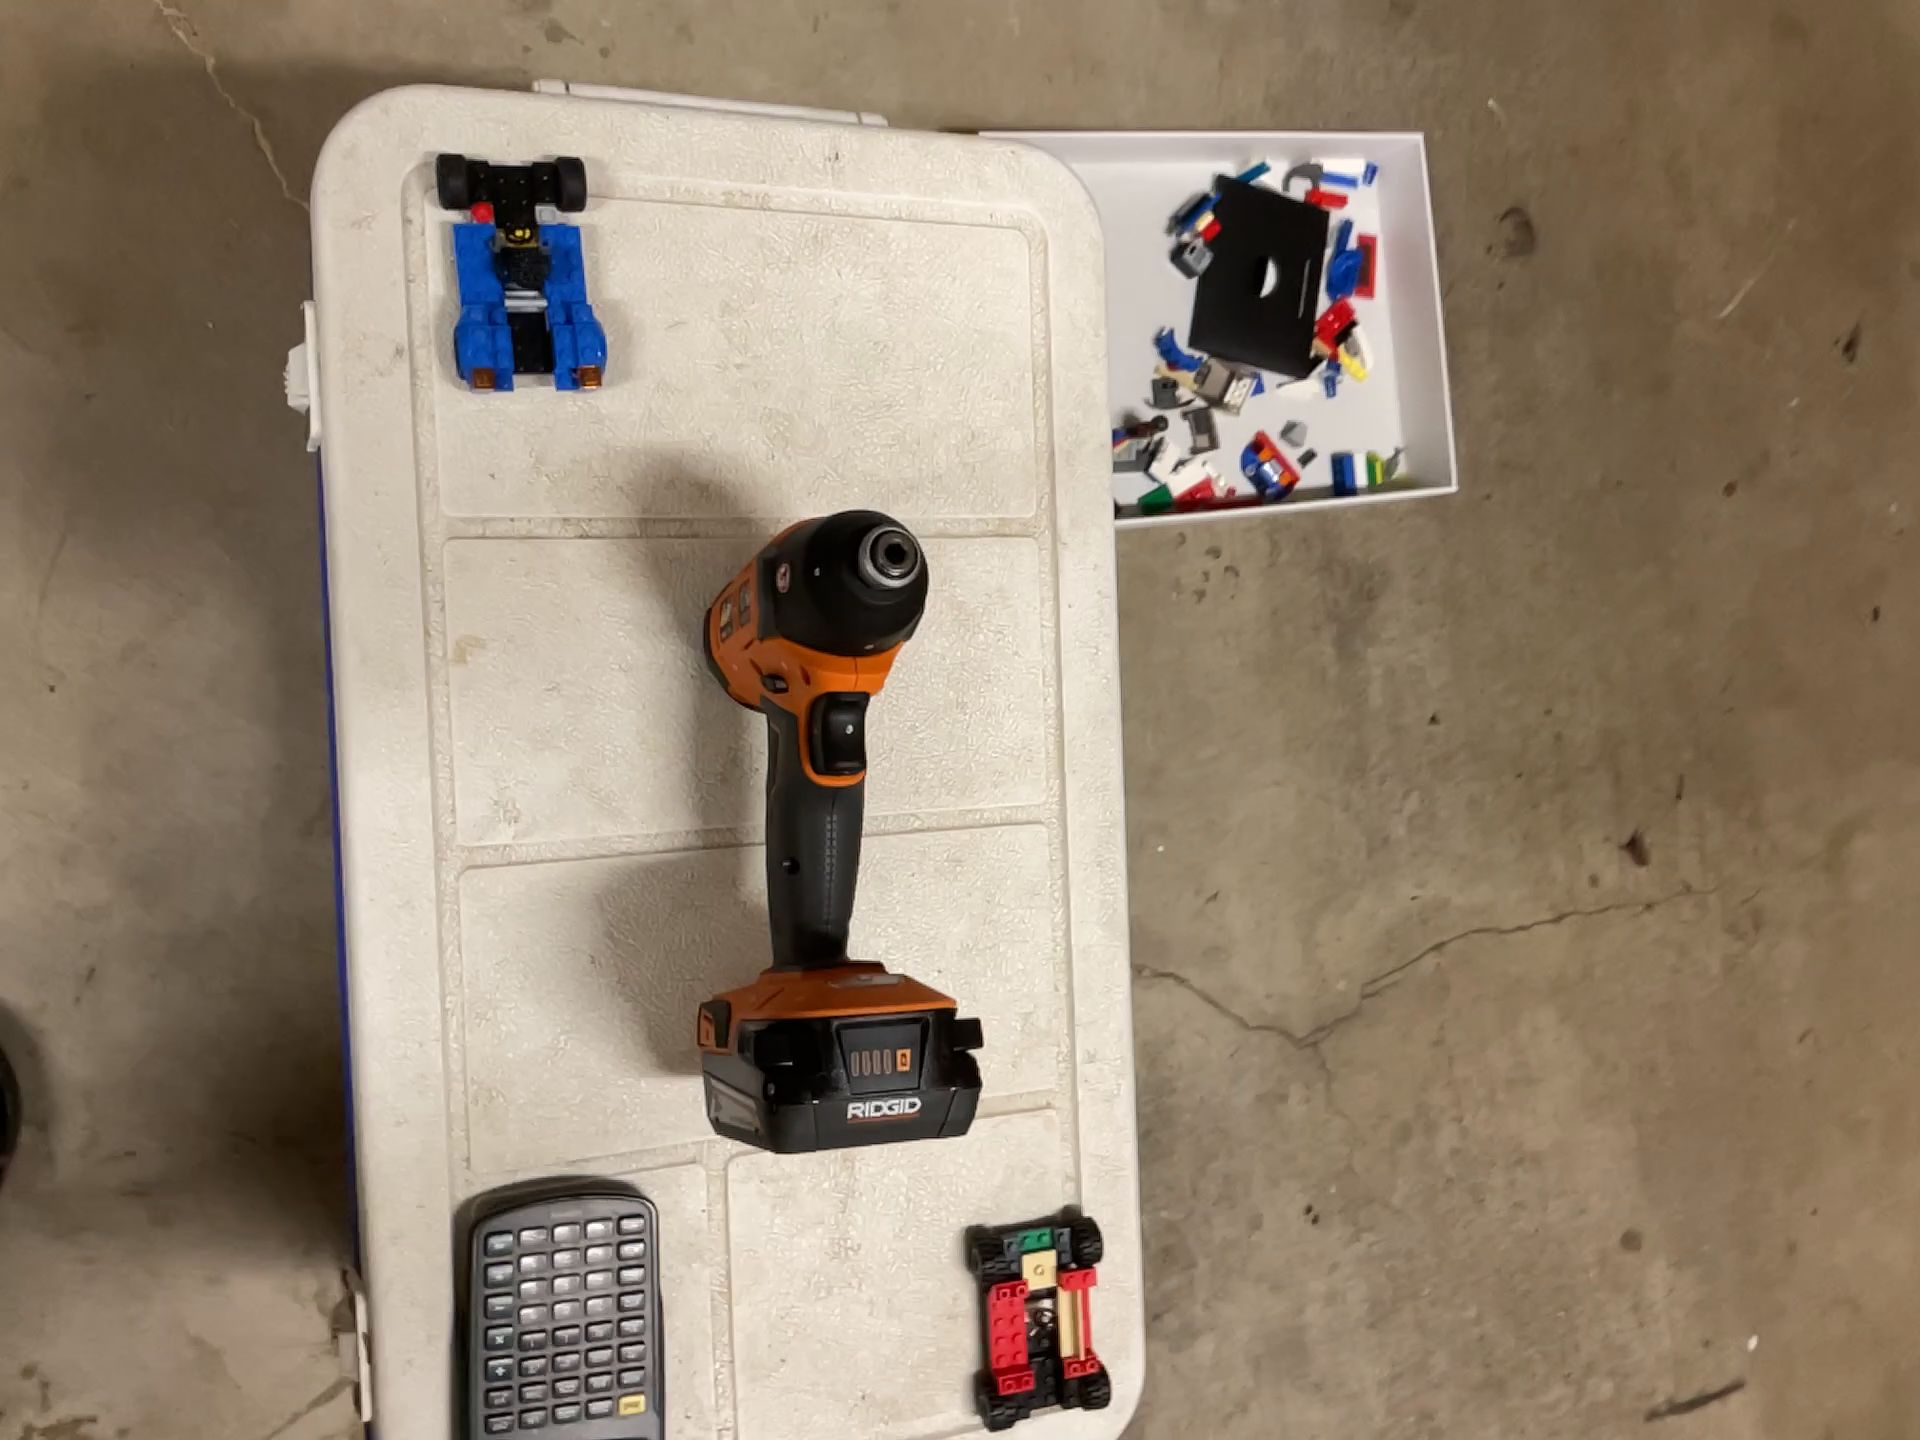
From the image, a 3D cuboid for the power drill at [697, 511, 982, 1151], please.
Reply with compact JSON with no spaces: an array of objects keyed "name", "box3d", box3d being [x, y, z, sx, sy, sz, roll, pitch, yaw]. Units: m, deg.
[{"name":"power drill","box3d":[-0.047,0.037,0.590,0.084,0.164,0.226,0,80,-21]}]
